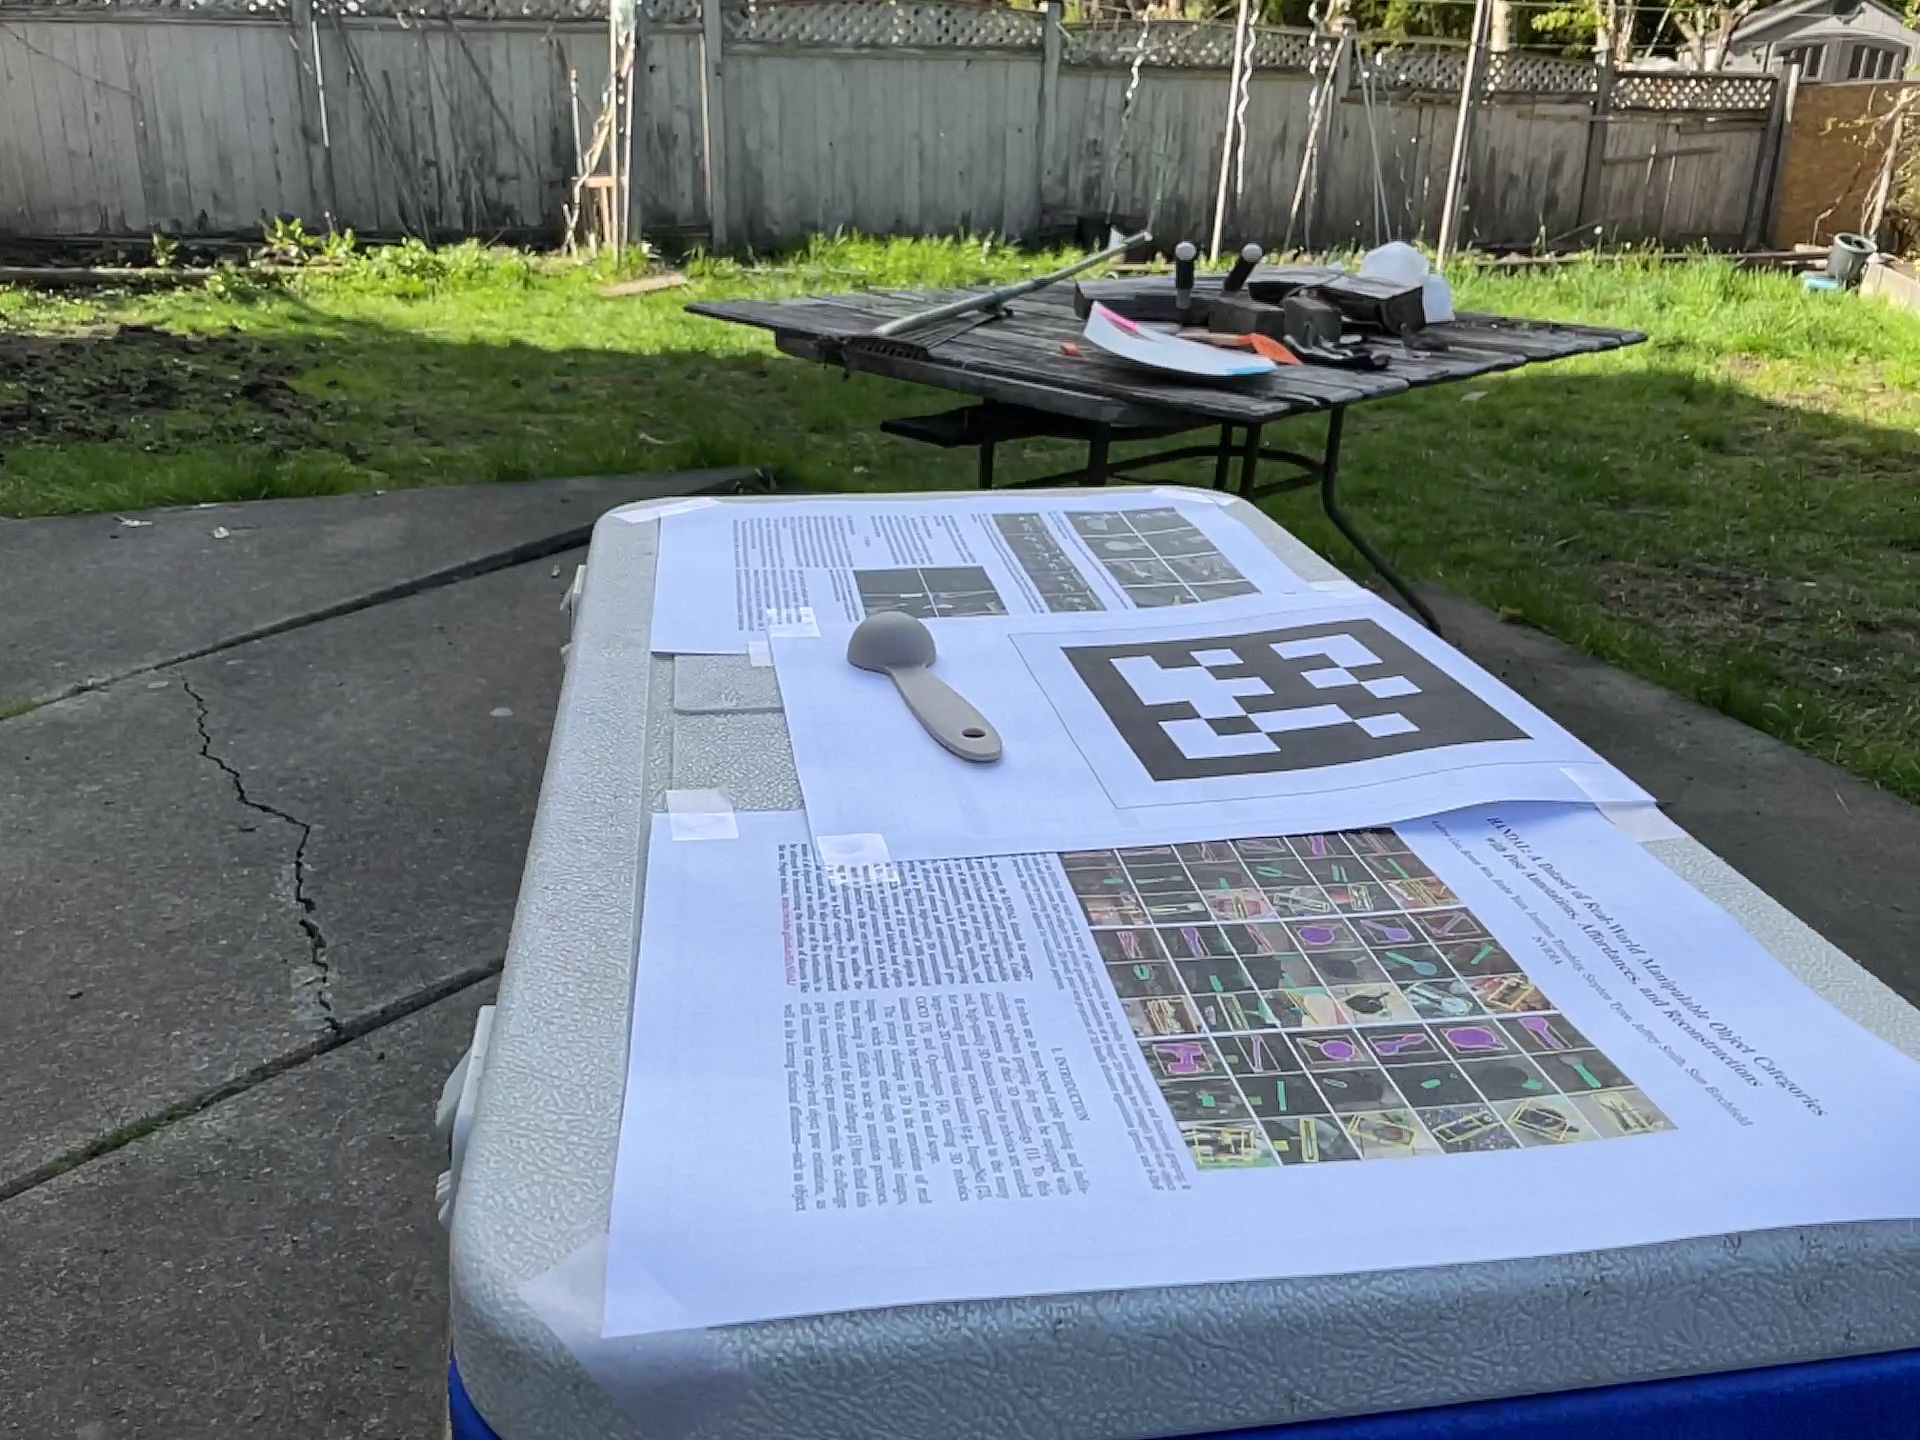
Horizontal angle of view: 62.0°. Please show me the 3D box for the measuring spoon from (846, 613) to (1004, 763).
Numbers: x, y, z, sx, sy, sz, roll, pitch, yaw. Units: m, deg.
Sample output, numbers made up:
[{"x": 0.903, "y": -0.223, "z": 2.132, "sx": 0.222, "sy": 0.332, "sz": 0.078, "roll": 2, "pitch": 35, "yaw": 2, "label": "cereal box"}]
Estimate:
[{"x": -0.011, "y": -0.015, "z": 0.557, "sx": 0.034, "sy": 0.018, "sz": 0.124, "roll": -6, "pitch": 23, "yaw": -18, "label": "measuring spoon"}]
